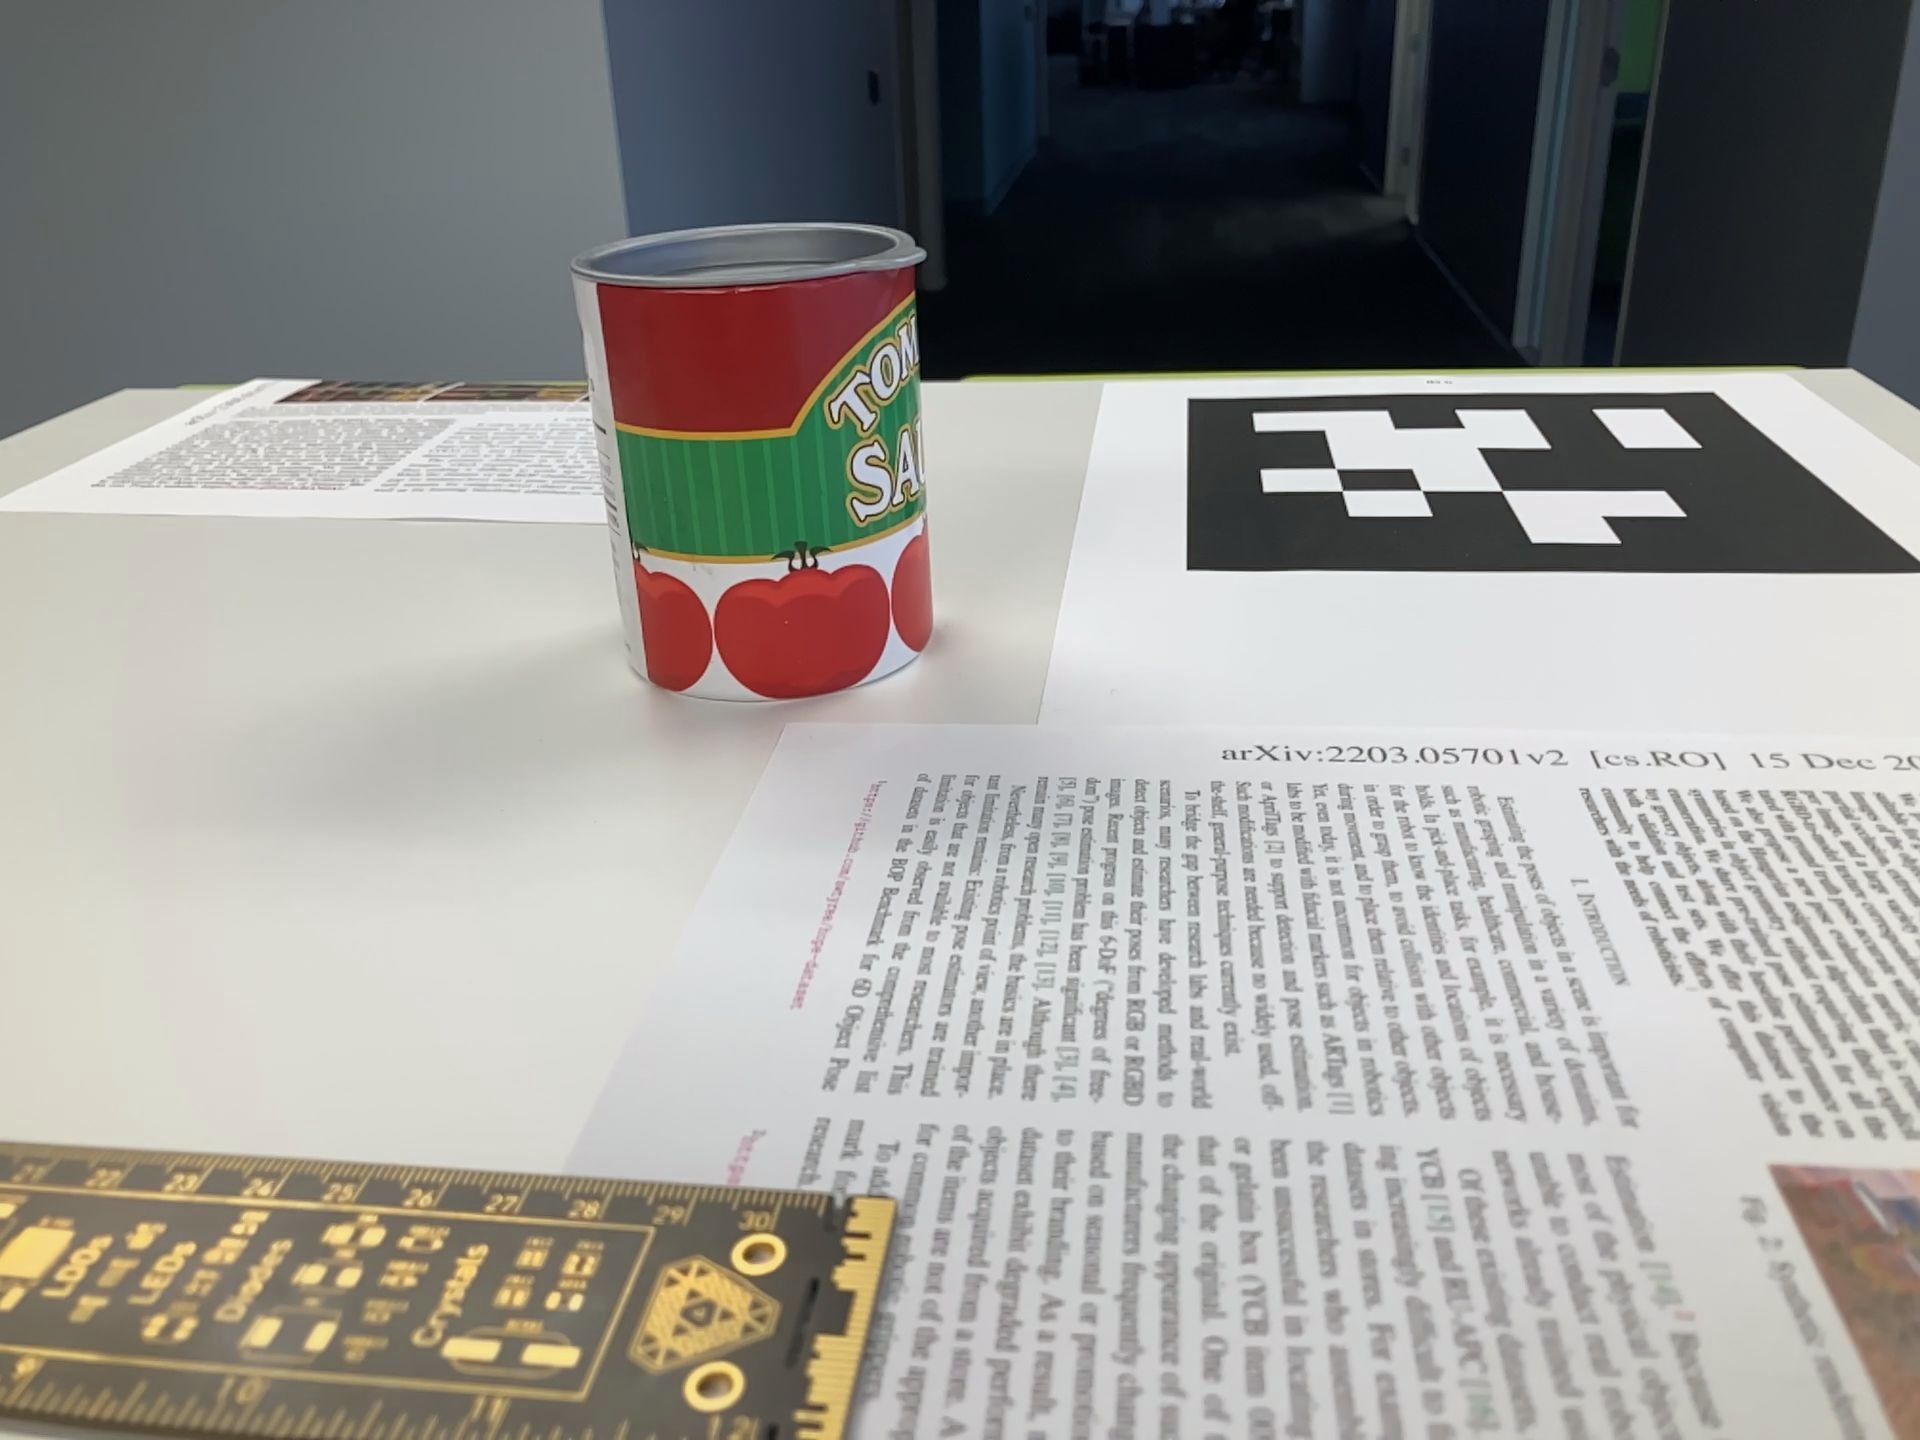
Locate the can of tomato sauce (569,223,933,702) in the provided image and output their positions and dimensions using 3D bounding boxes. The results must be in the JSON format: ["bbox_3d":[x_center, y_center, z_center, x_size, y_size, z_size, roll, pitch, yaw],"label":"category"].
[{"bbox_3d":[-0.038,-0.054,0.325,0.071,0.083,0.071,-2,25,1],"label":"can of tomato sauce"}]
